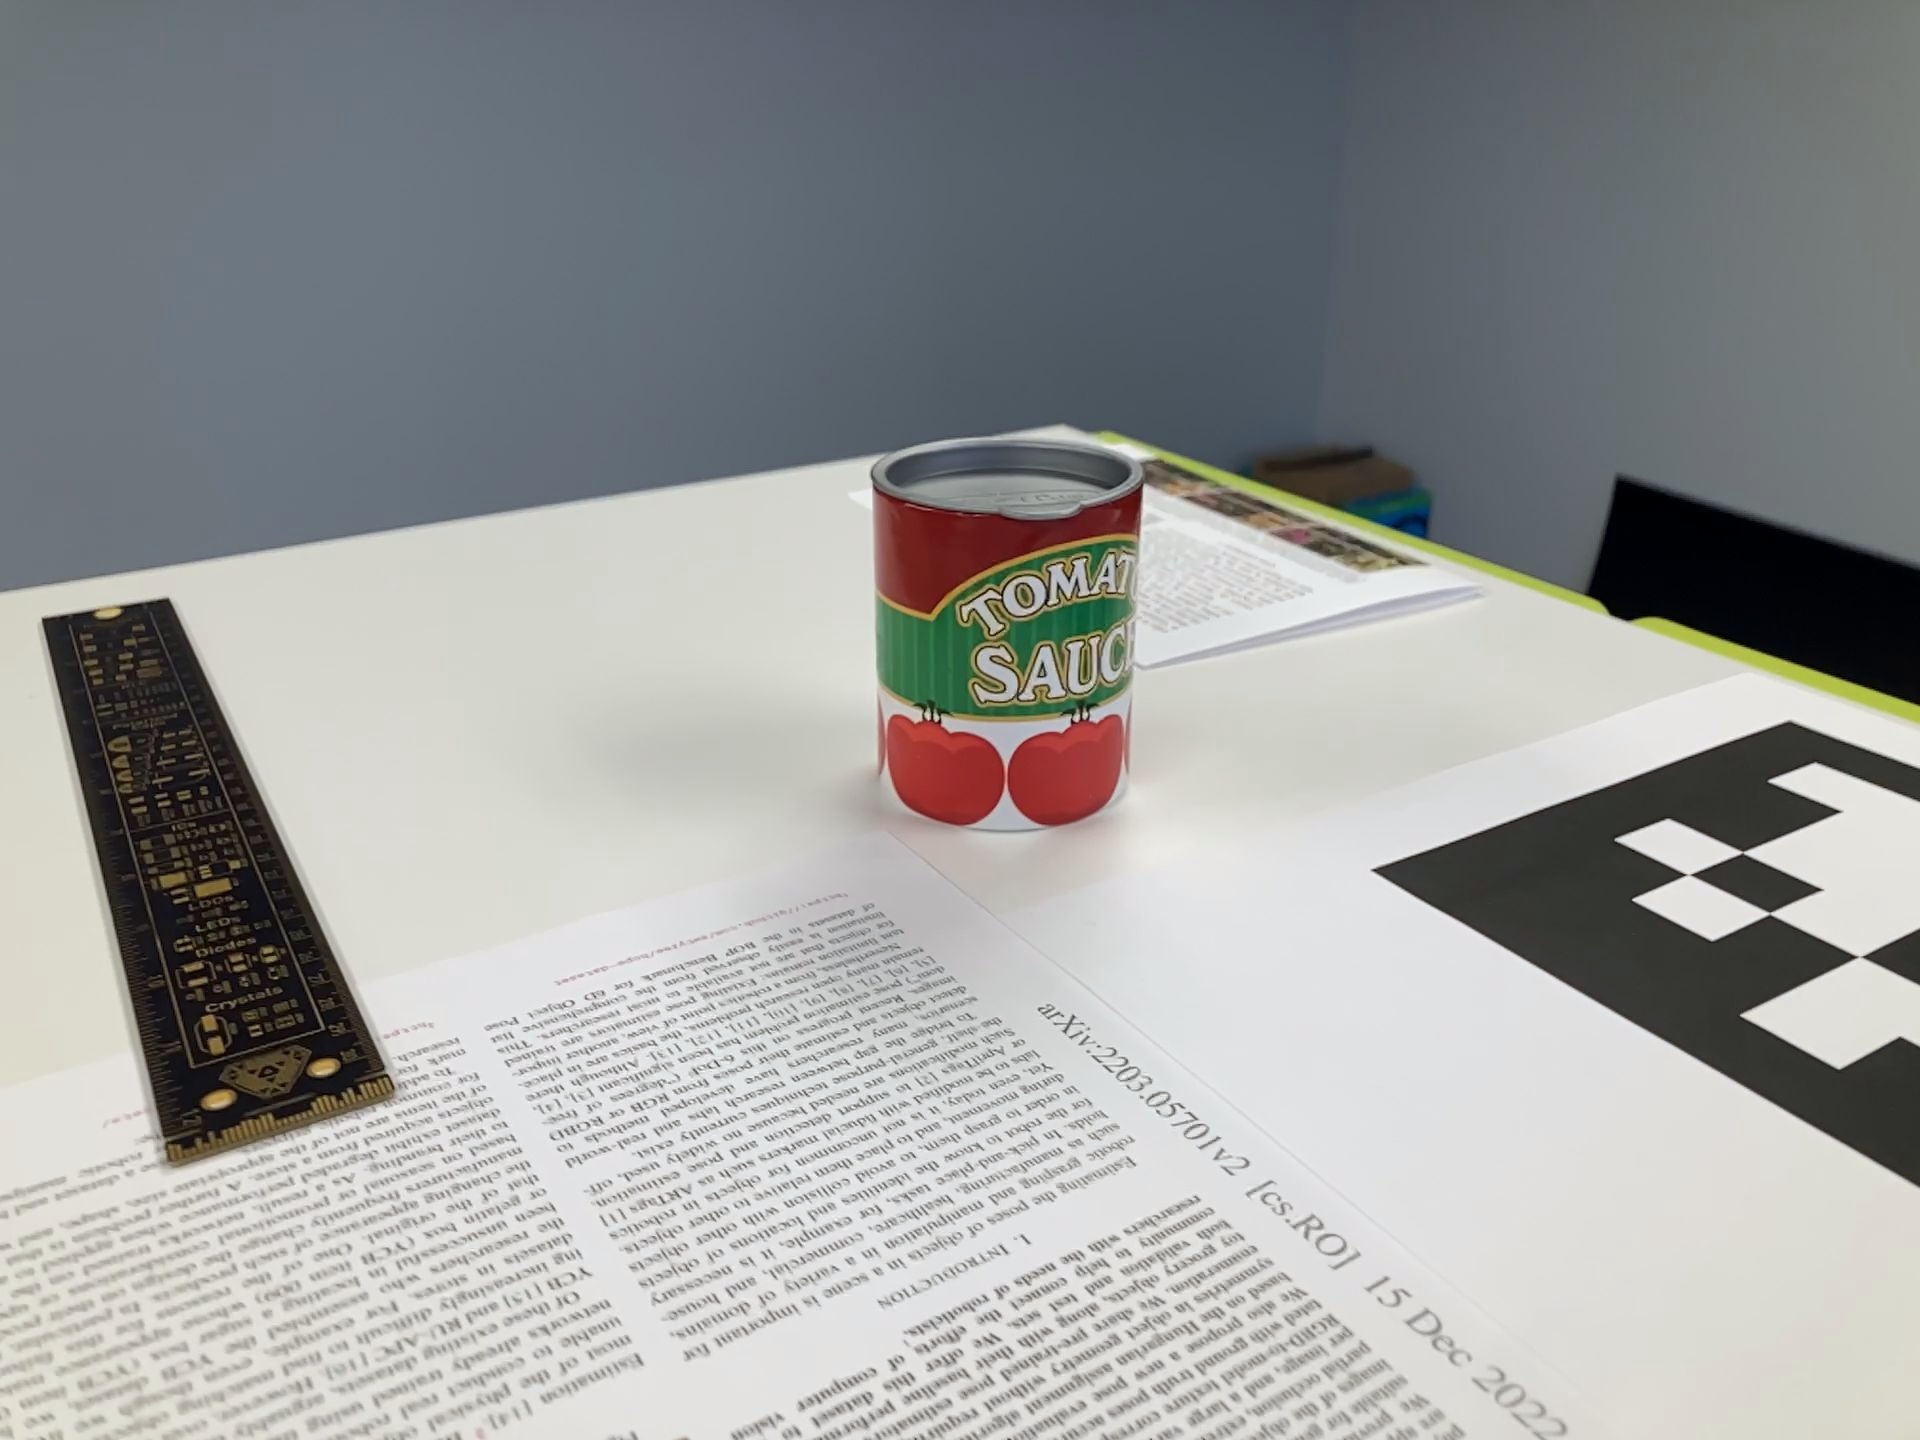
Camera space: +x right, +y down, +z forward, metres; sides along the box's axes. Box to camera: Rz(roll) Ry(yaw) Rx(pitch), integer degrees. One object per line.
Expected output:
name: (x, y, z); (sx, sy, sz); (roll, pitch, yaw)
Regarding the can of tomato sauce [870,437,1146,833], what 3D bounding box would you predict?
can of tomato sauce: (0.013, -0.022, 0.398); (0.071, 0.083, 0.071); (0, 24, 0)
